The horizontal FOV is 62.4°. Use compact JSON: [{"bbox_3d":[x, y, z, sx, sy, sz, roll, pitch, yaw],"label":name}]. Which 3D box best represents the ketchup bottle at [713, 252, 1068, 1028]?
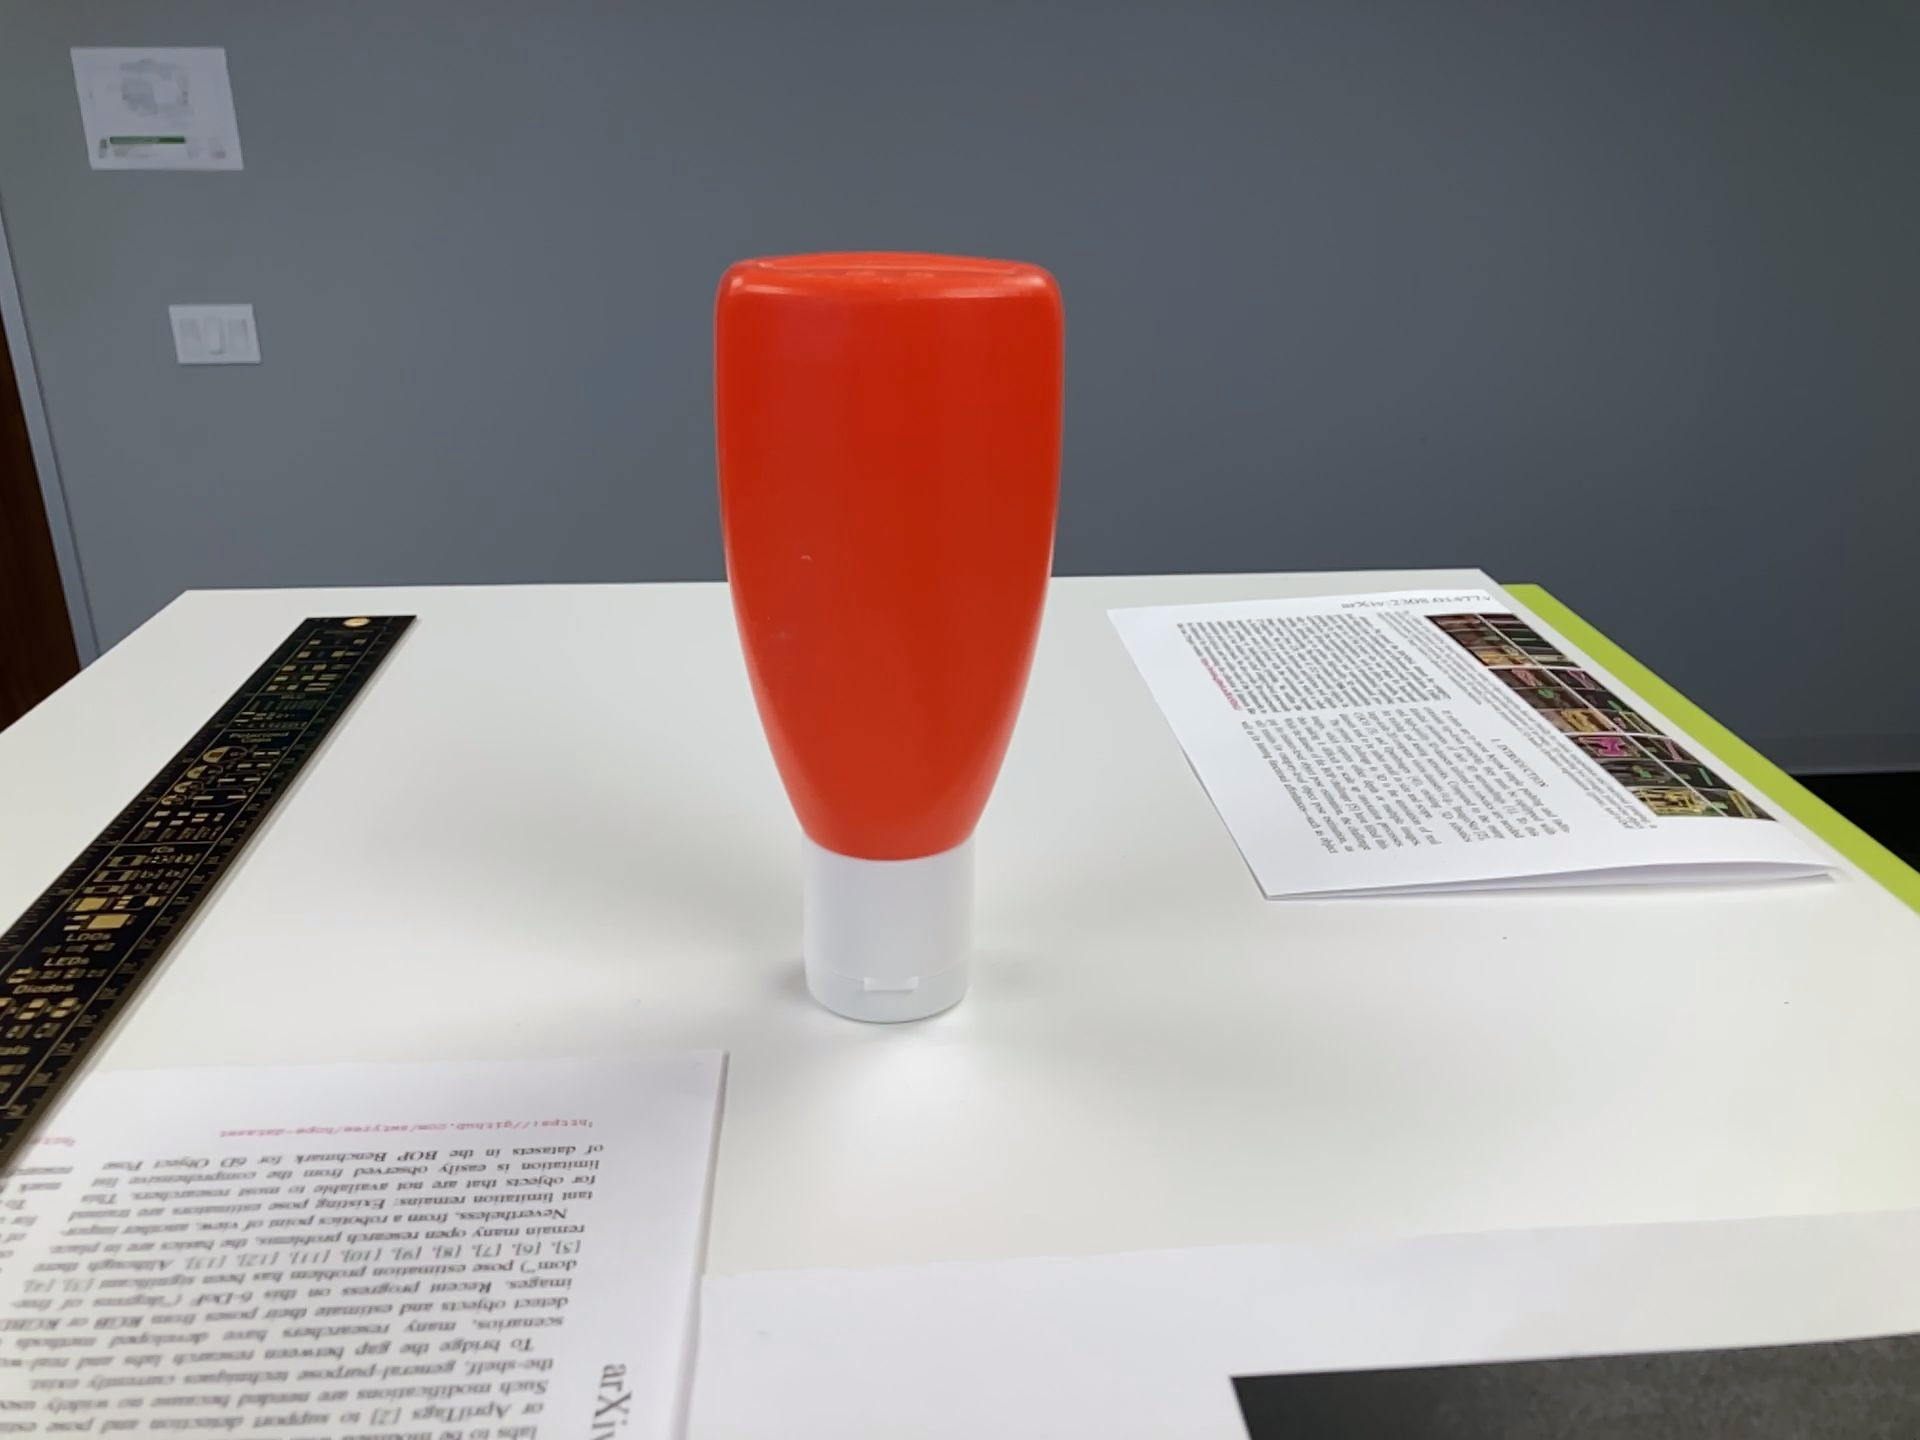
[{"bbox_3d":[-0.014,-0.013,0.308,0.065,0.149,0.043,0,21,-3],"label":"ketchup bottle"}]
